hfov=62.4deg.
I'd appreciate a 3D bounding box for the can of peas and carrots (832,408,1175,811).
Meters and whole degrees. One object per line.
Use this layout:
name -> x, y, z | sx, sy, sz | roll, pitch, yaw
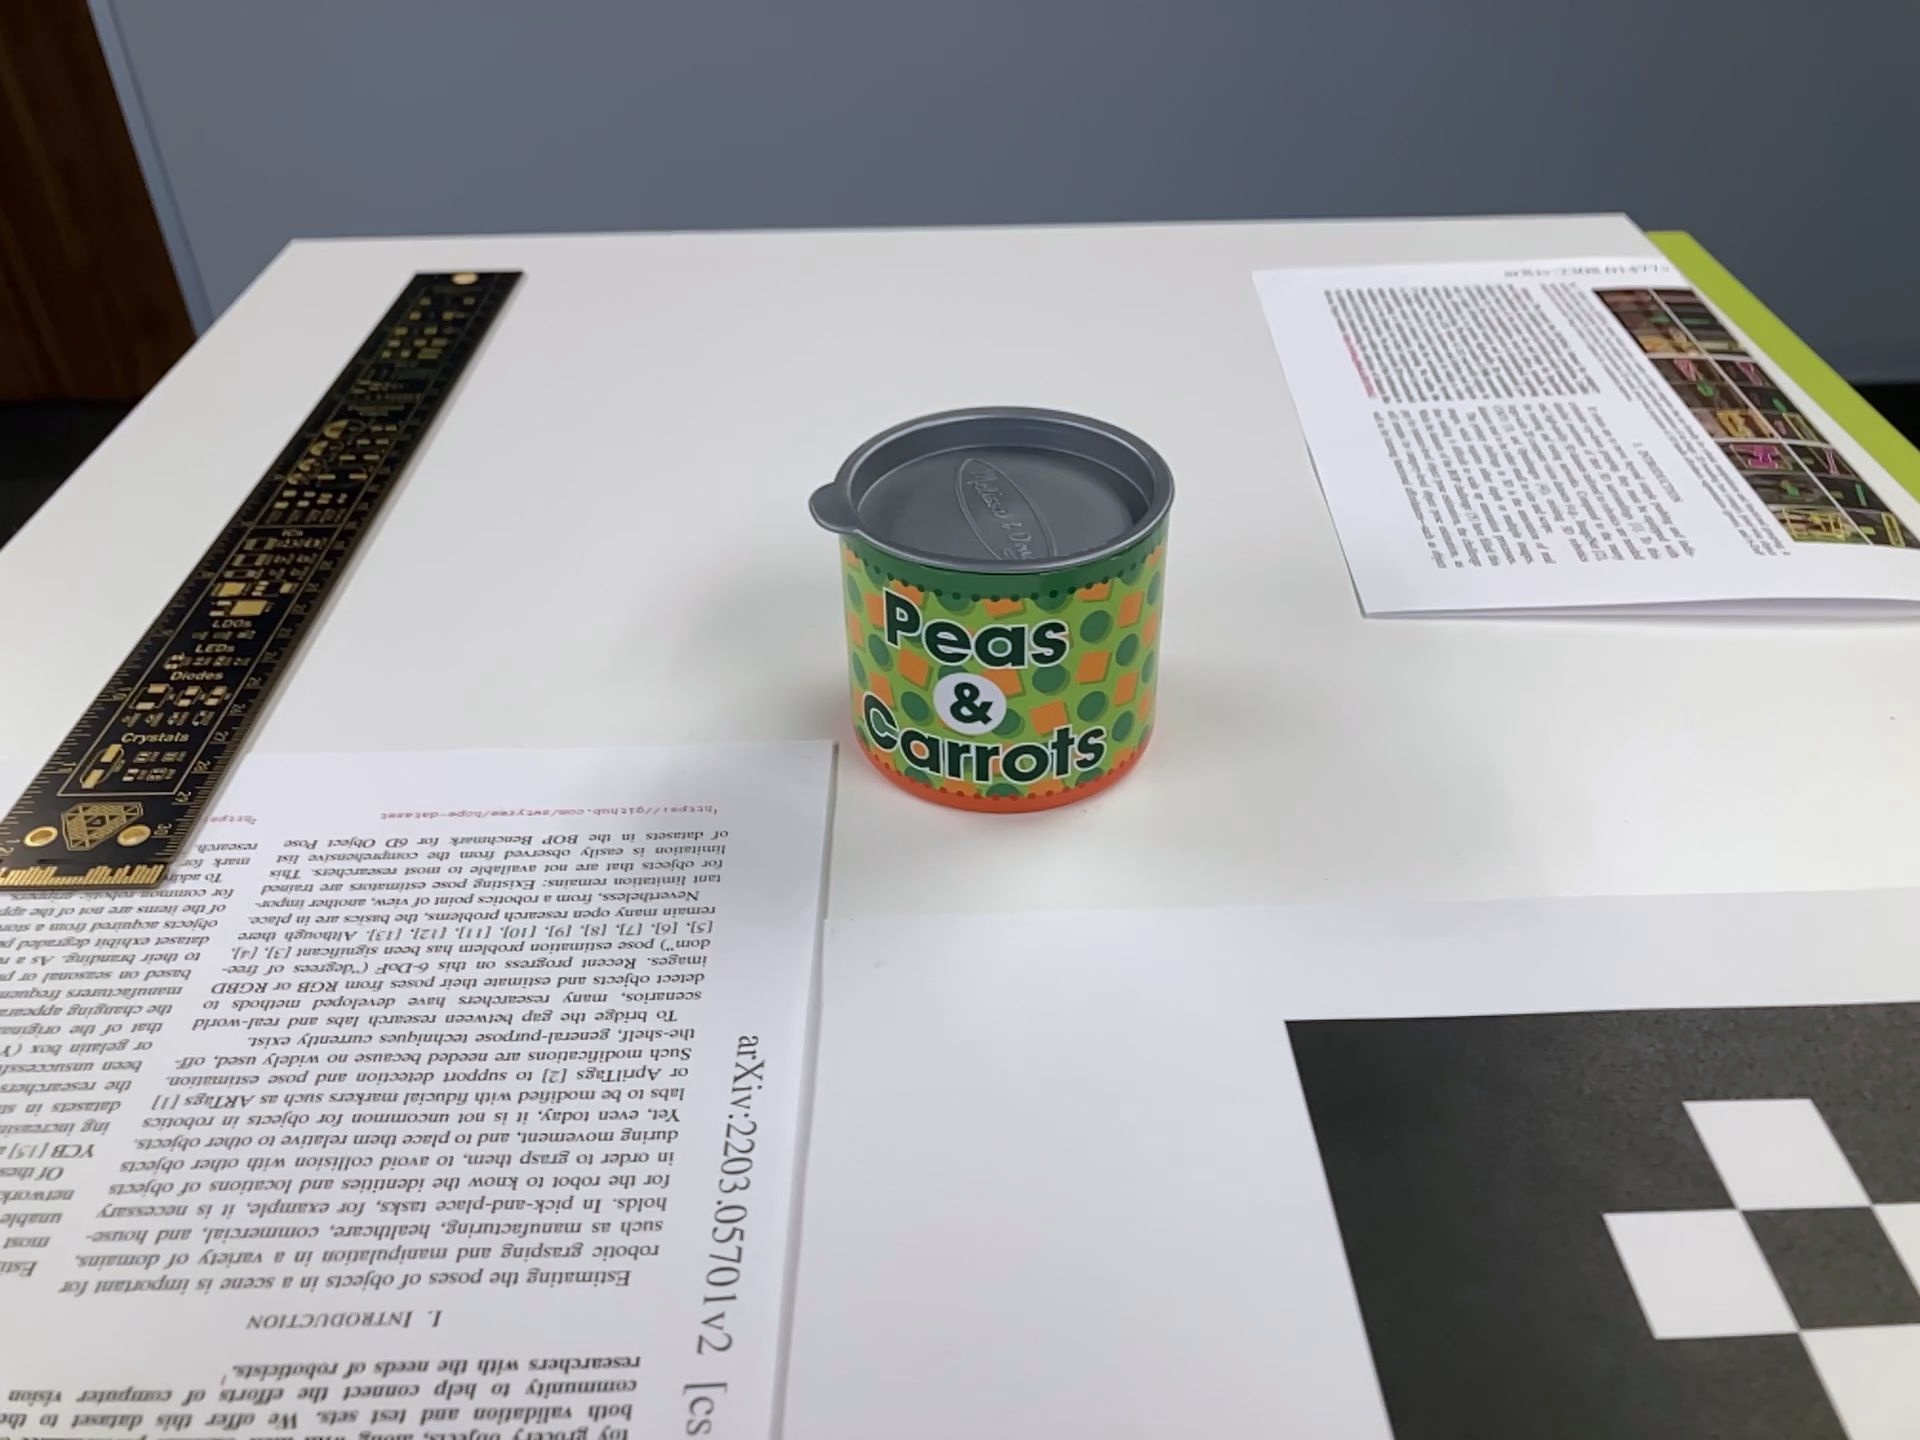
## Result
can of peas and carrots -> 0.008, -0.022, 0.322 | 0.071, 0.059, 0.071 | -1, 36, 1
